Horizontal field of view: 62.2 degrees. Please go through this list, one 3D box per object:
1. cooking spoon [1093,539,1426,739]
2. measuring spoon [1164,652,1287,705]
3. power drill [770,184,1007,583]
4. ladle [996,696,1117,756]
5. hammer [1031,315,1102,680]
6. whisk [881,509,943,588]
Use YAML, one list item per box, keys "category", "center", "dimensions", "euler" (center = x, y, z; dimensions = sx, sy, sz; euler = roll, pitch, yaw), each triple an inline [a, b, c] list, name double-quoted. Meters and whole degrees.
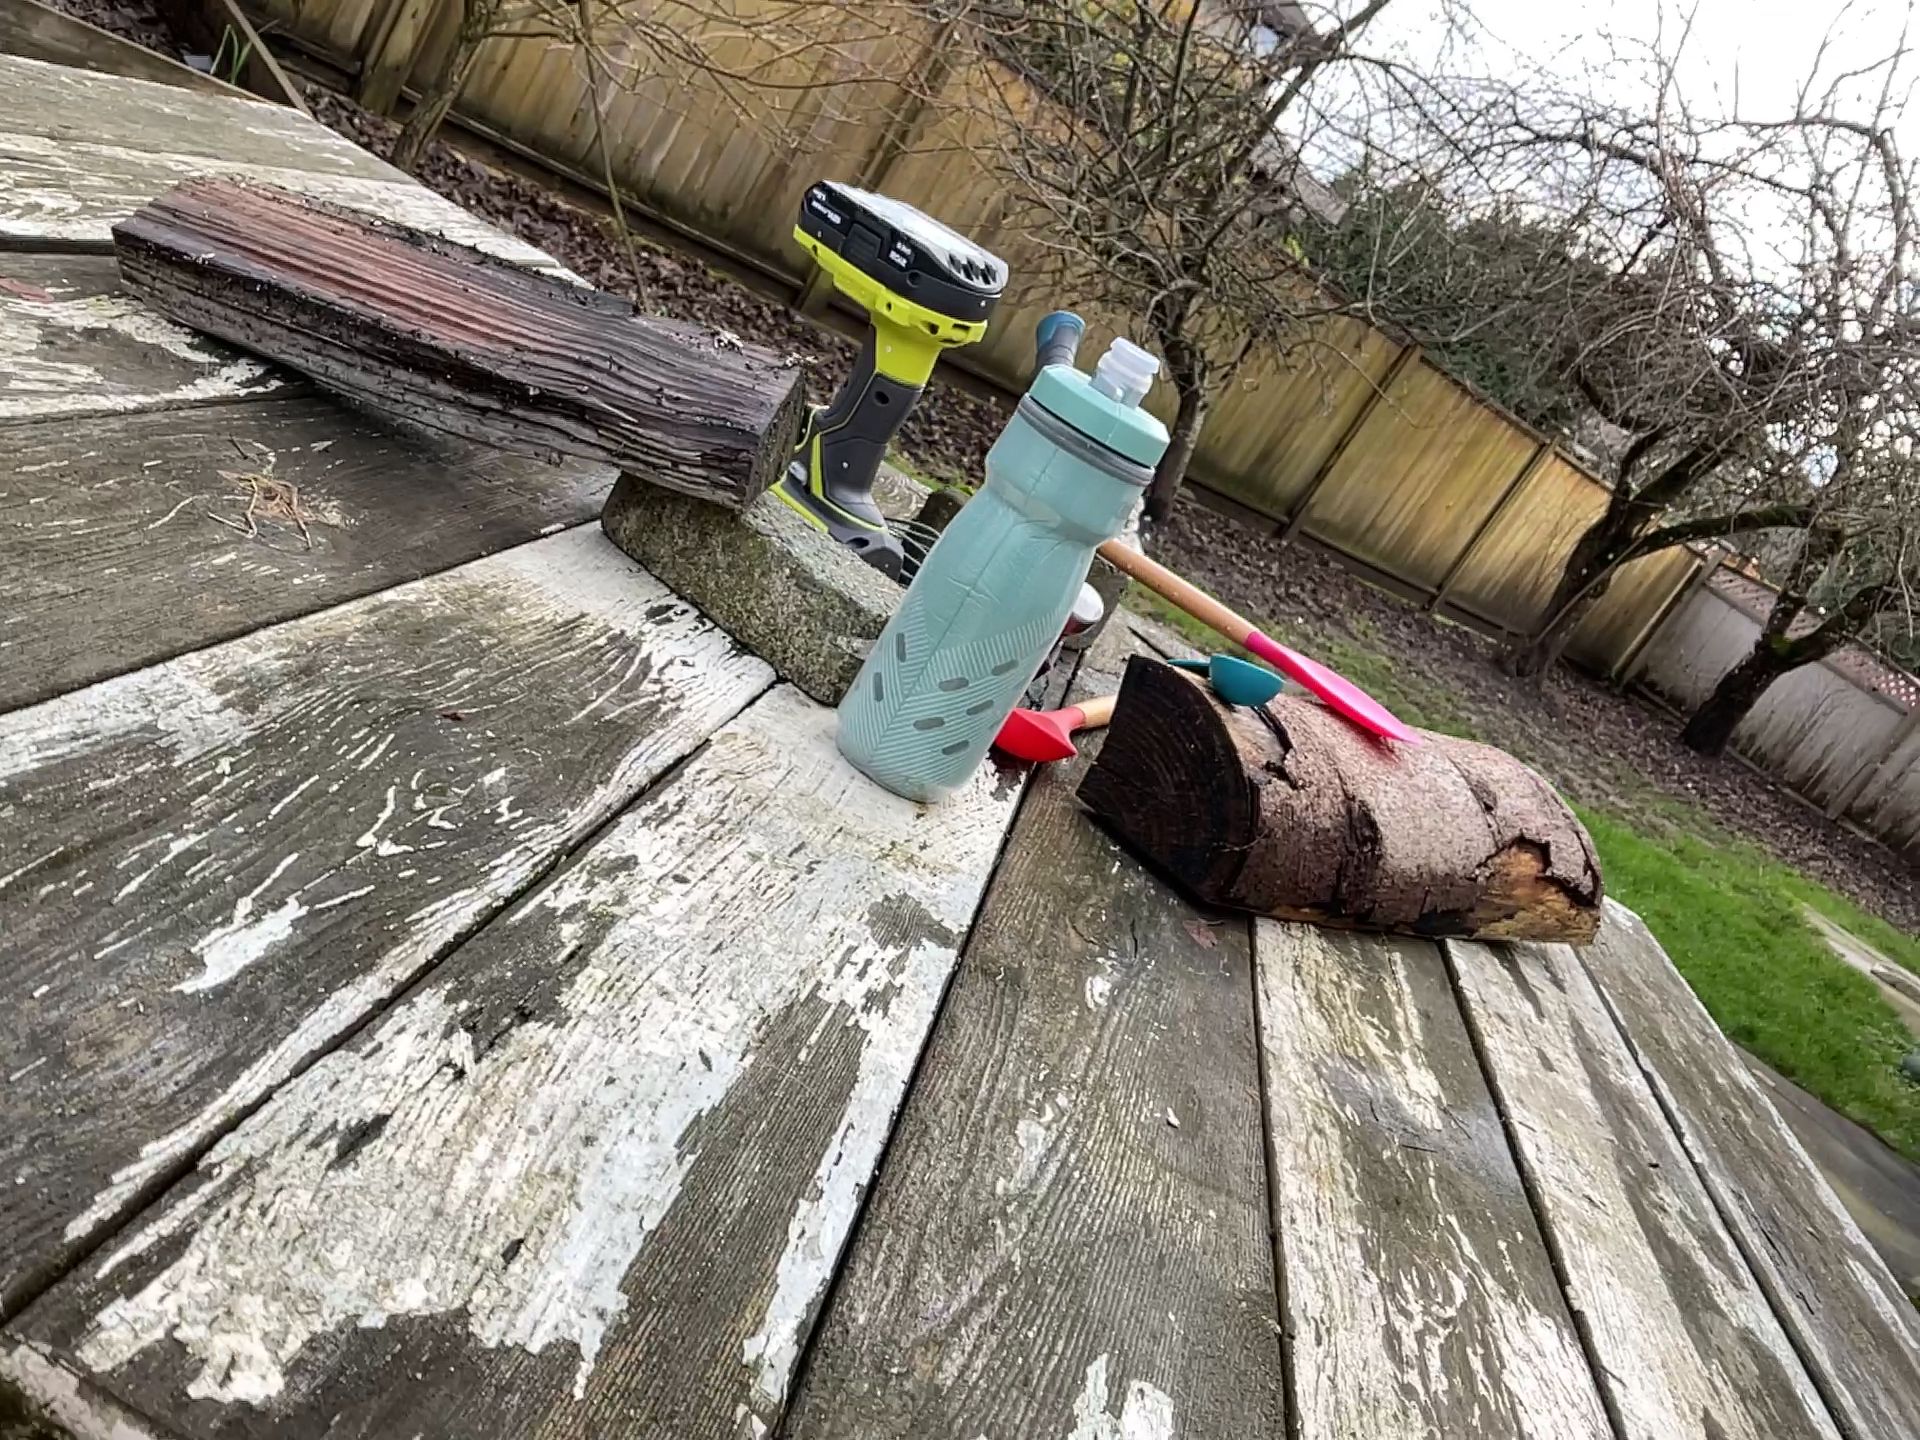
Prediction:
- category: "cooking spoon"
  center: [0.185, -0.066, 1.096]
  dimensions: [0.319, 0.017, 0.068]
  euler: [38, 19, 35]
- category: "measuring spoon"
  center: [0.143, -0.023, 0.916]
  dimensions: [0.042, 0.021, 0.129]
  euler: [25, -4, -17]
- category: "power drill"
  center: [-0.075, -0.201, 0.981]
  dimensions: [0.080, 0.223, 0.171]
  euler: [-3, 35, -49]
- category: "ladle"
  center: [0.082, -0.005, 1.027]
  dimensions: [0.069, 0.031, 0.315]
  euler: [34, 15, 17]
- category: "hammer"
  center: [0.056, -0.161, 1.083]
  dimensions: [0.033, 0.128, 0.331]
  euler: [26, 49, -23]
- category: "whisk"
  center: [-0.082, -0.147, 1.097]
  dimensions: [0.239, 0.055, 0.055]
  euler: [38, 10, 32]
